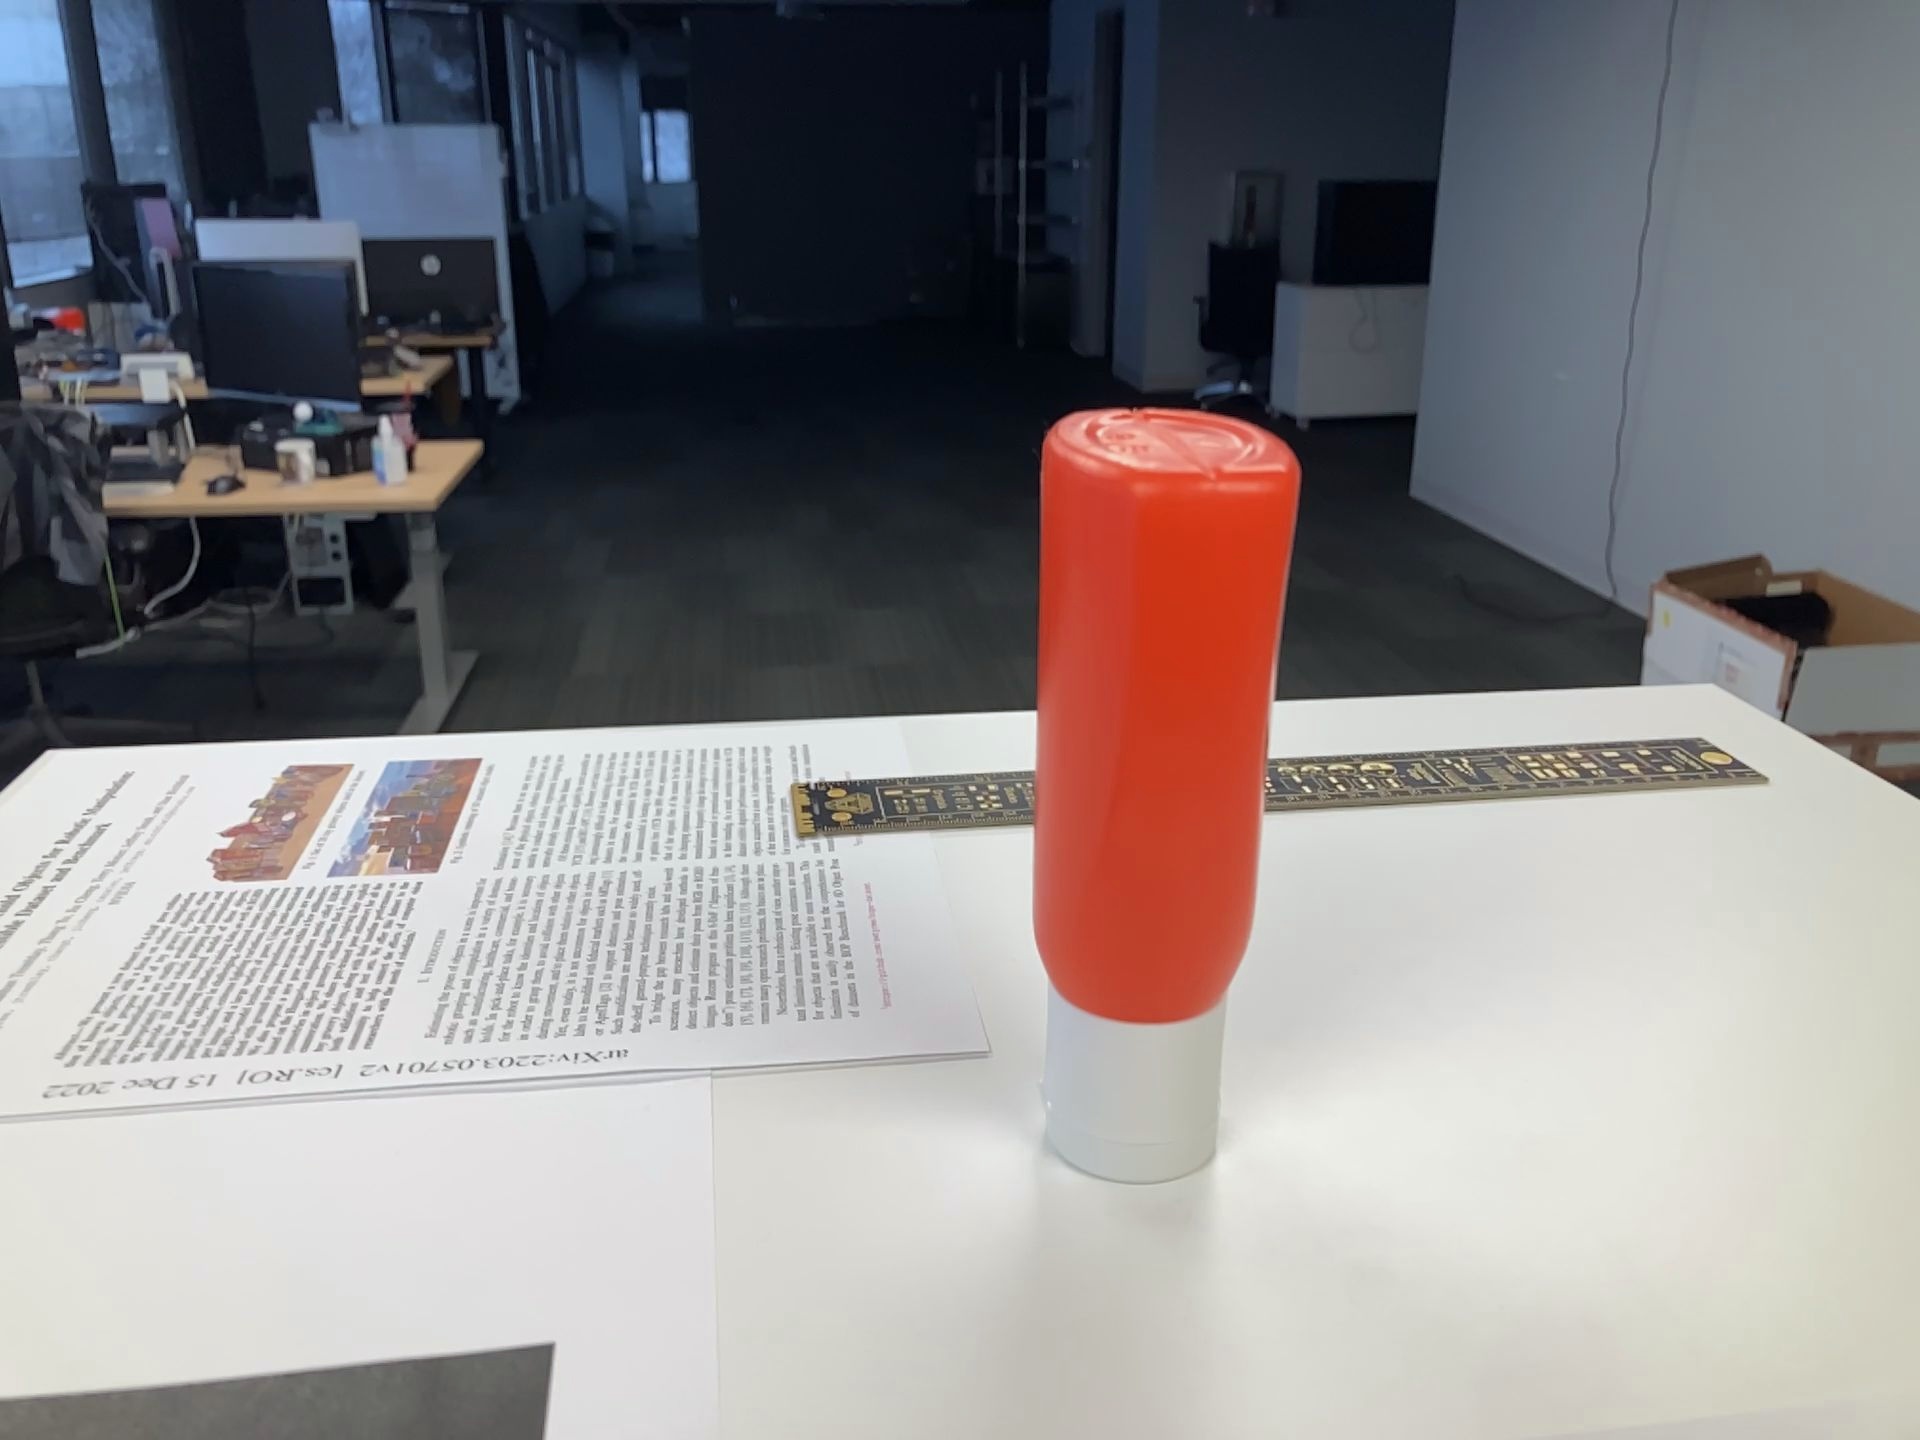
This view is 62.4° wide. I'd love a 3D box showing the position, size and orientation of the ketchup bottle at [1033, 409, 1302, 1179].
[{"bbox_3d":[0.036,0.018,0.310,0.043,0.149,0.065,-2,21,-7],"label":"ketchup bottle"}]
